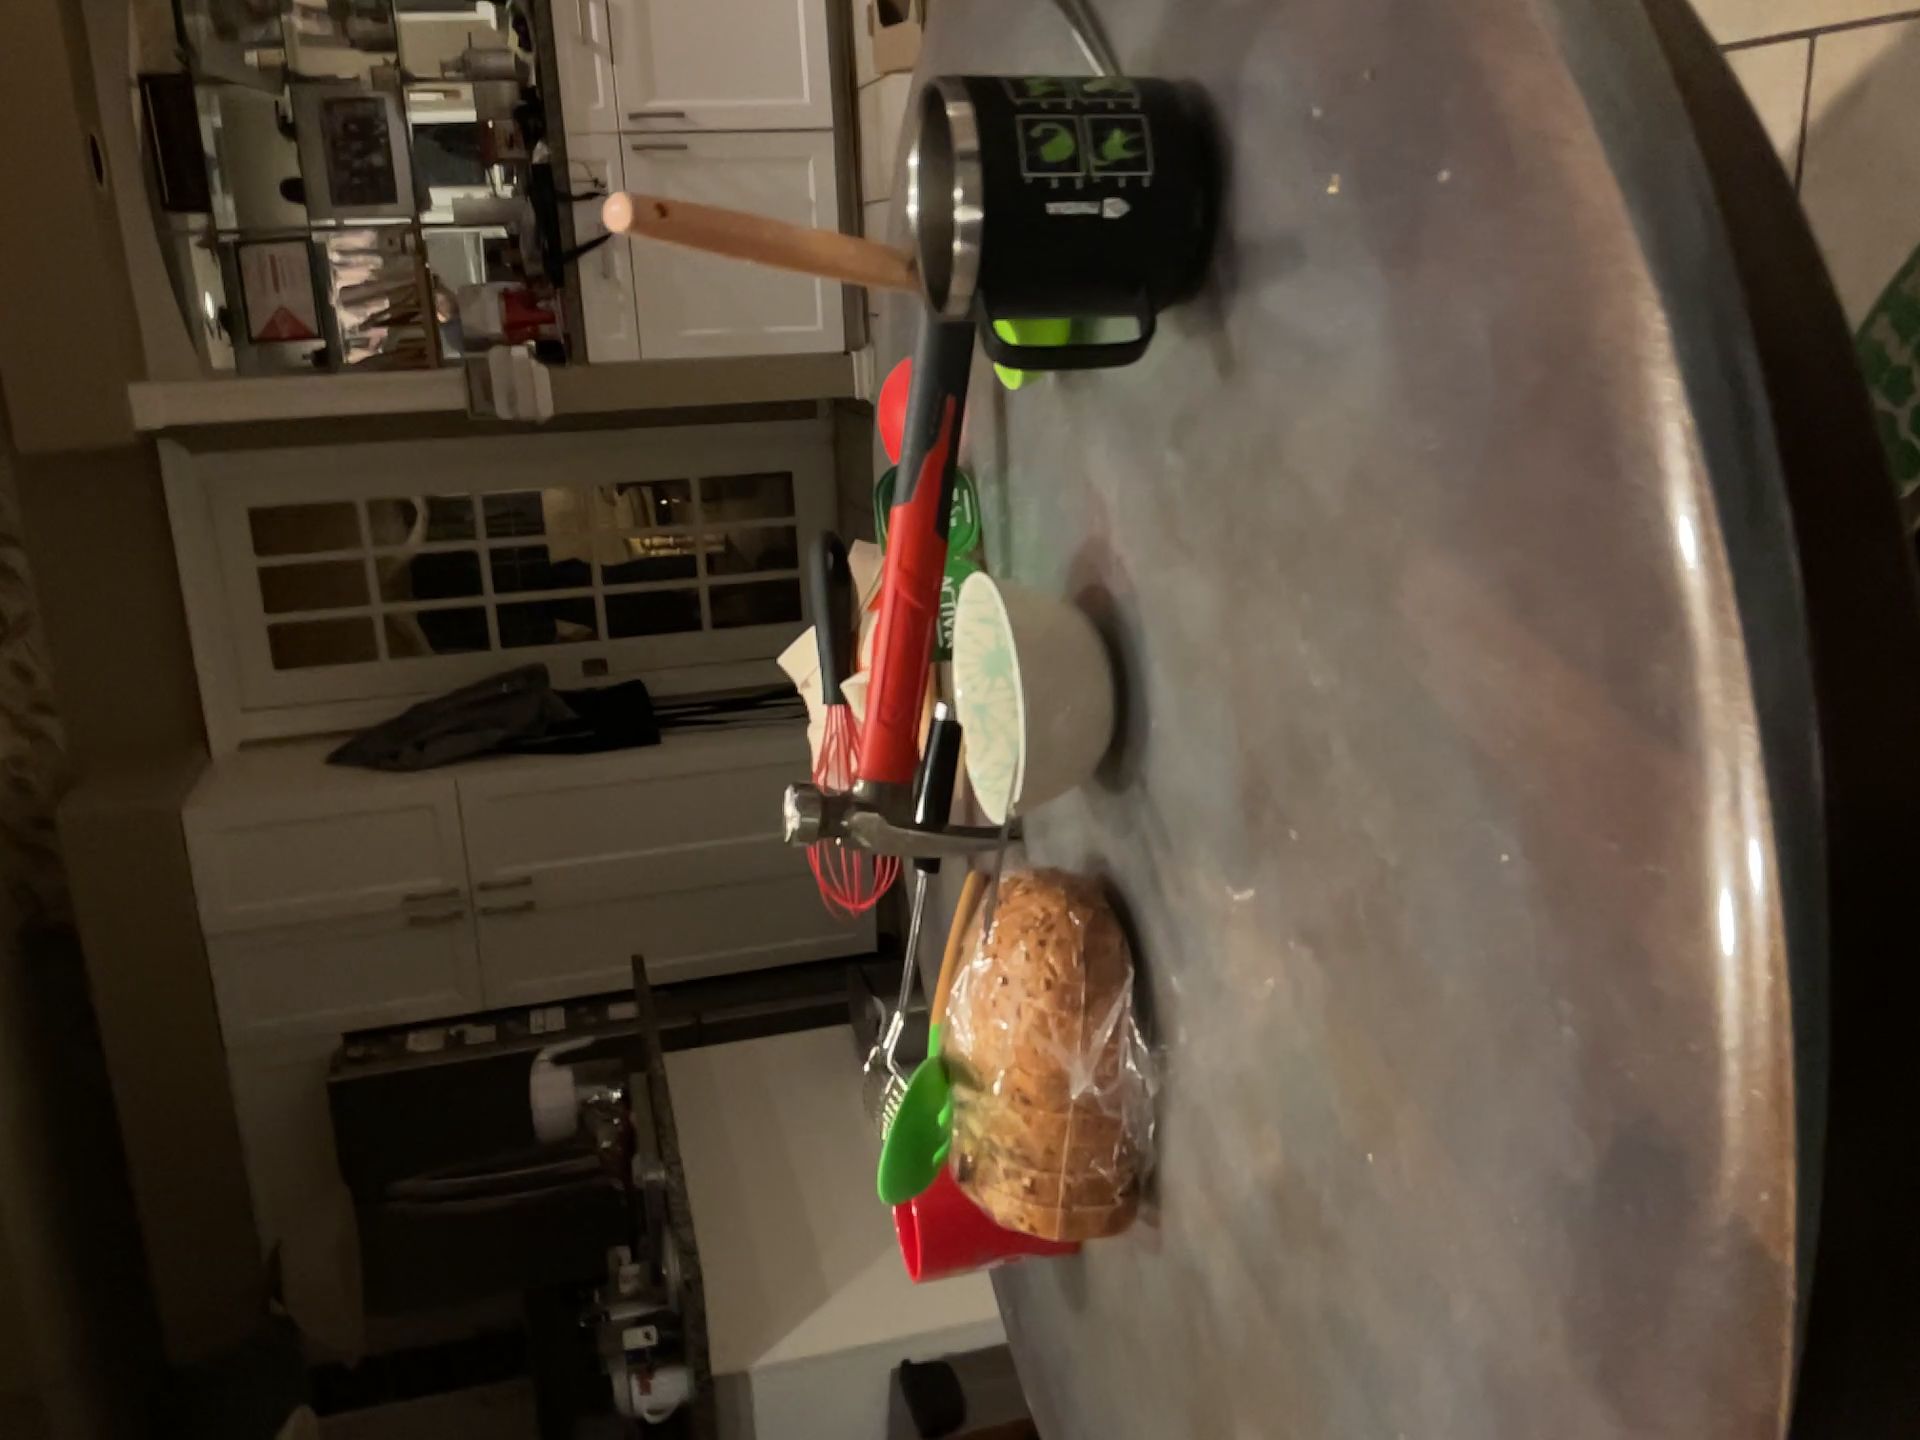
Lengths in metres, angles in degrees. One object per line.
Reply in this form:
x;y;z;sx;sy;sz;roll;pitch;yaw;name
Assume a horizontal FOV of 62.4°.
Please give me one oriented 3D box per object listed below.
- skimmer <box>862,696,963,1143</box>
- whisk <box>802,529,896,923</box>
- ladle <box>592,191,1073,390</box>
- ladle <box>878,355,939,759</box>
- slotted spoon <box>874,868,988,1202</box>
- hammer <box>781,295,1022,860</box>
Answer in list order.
-0.006;0.159;1.104;0.127;0.090;0.363;-140;56;-59;skimmer
-0.090;0.006;1.178;0.073;0.073;0.296;-153;58;-75;whisk
-0.041;-0.181;0.650;0.062;0.320;0.078;-19;87;32;ladle
-0.030;-0.093;1.100;0.069;0.031;0.315;-139;42;-71;ladle
-0.007;0.161;0.901;0.314;0.031;0.070;-72;-12;-67;slotted spoon
-0.008;-0.109;0.905;0.038;0.143;0.386;-141;58;-69;hammer
